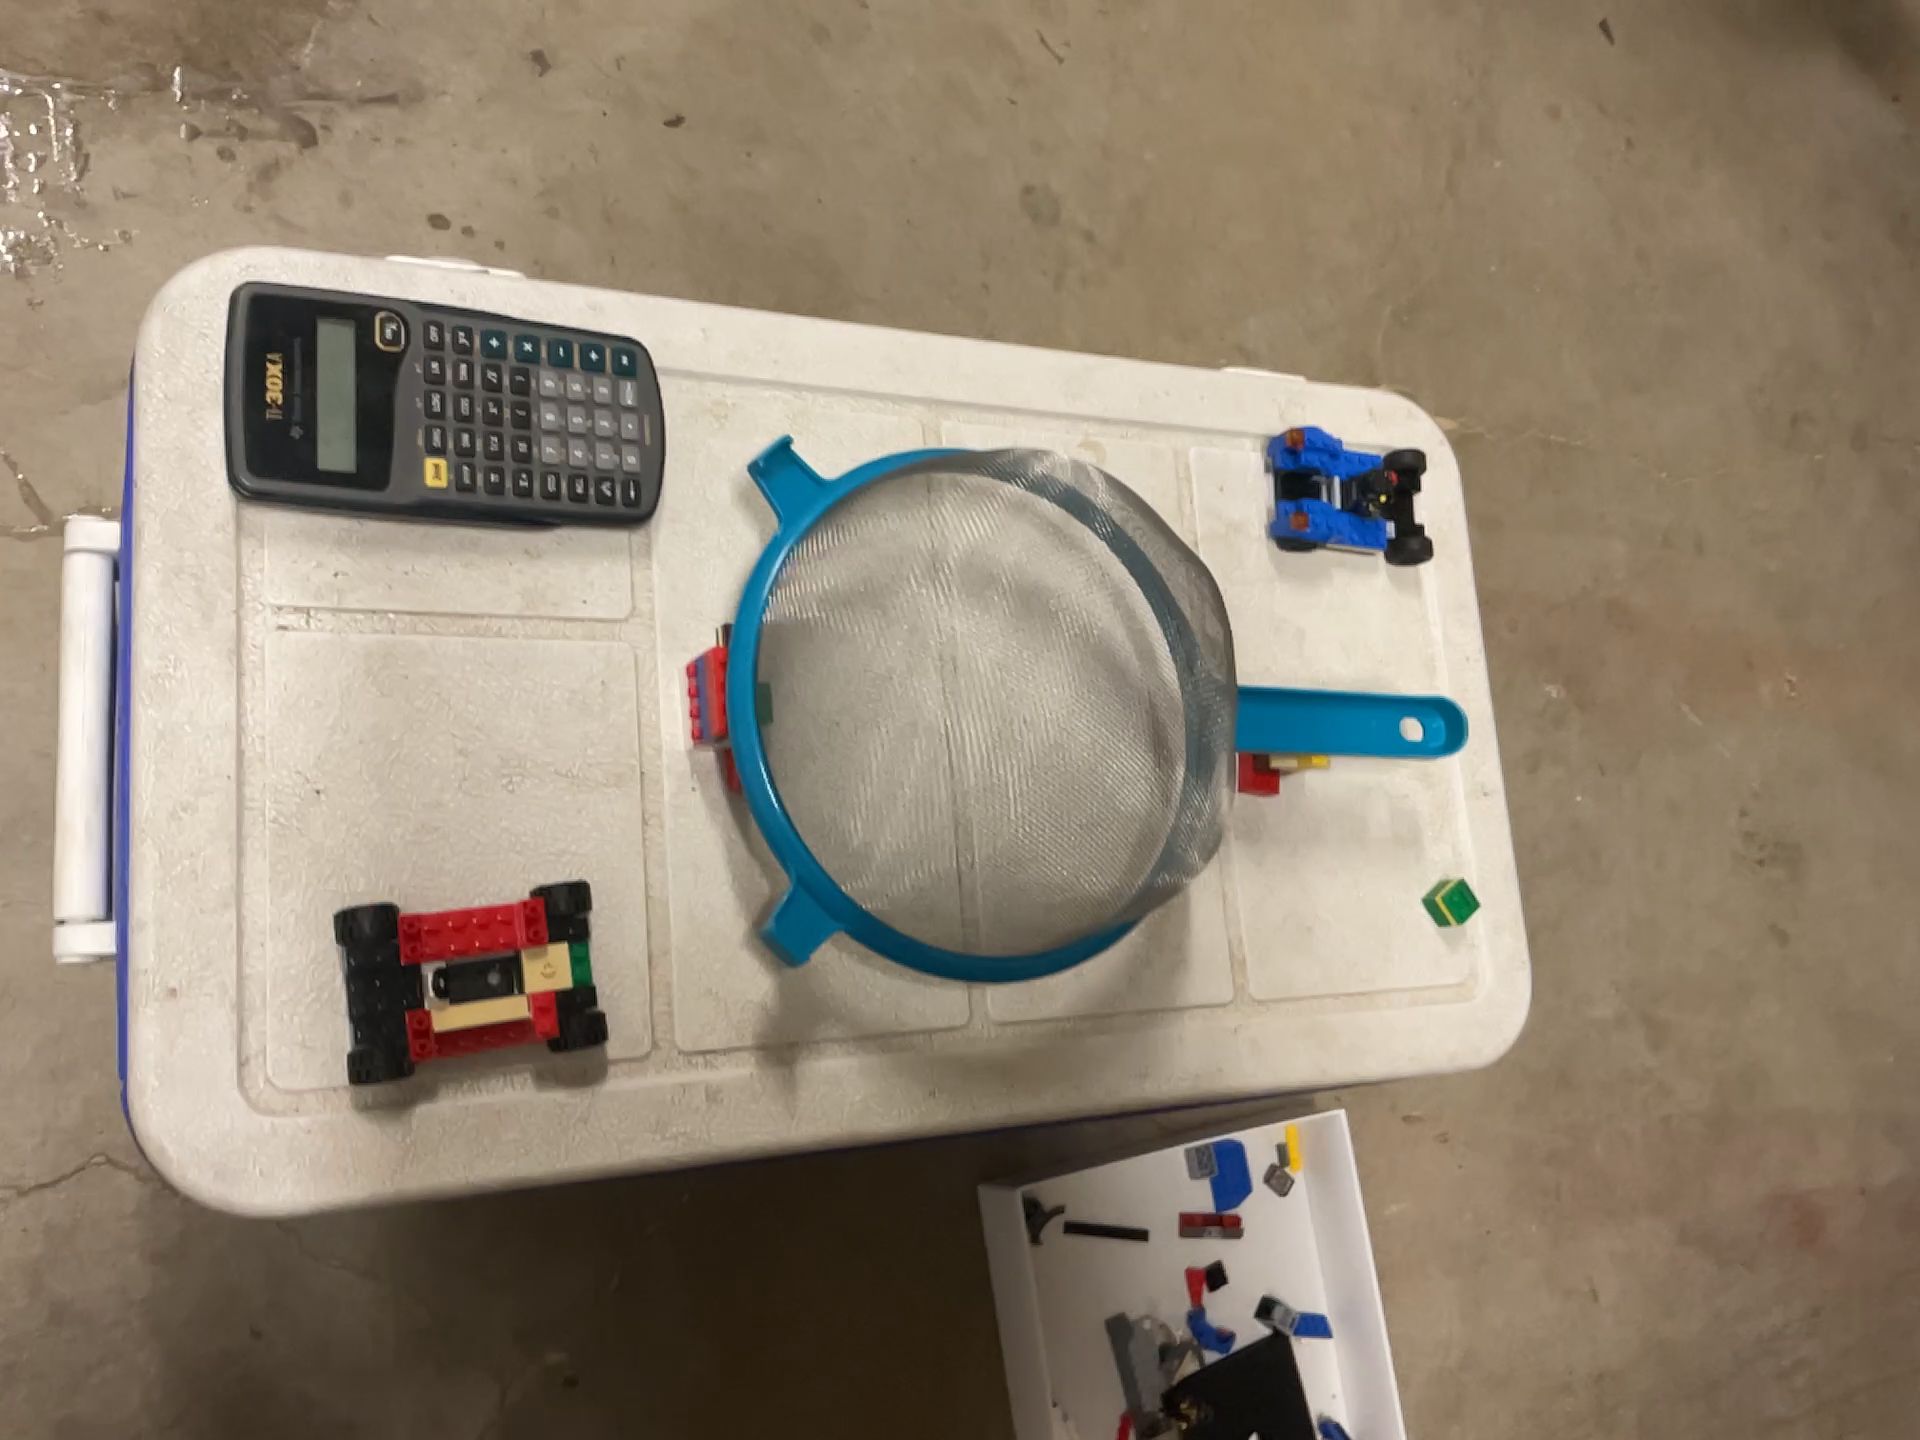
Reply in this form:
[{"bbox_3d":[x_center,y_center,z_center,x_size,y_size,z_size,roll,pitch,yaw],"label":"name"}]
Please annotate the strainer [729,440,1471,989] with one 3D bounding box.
[{"bbox_3d":[0.087,-0.008,0.611,0.340,0.095,0.211,2,78,-26],"label":"strainer"}]
